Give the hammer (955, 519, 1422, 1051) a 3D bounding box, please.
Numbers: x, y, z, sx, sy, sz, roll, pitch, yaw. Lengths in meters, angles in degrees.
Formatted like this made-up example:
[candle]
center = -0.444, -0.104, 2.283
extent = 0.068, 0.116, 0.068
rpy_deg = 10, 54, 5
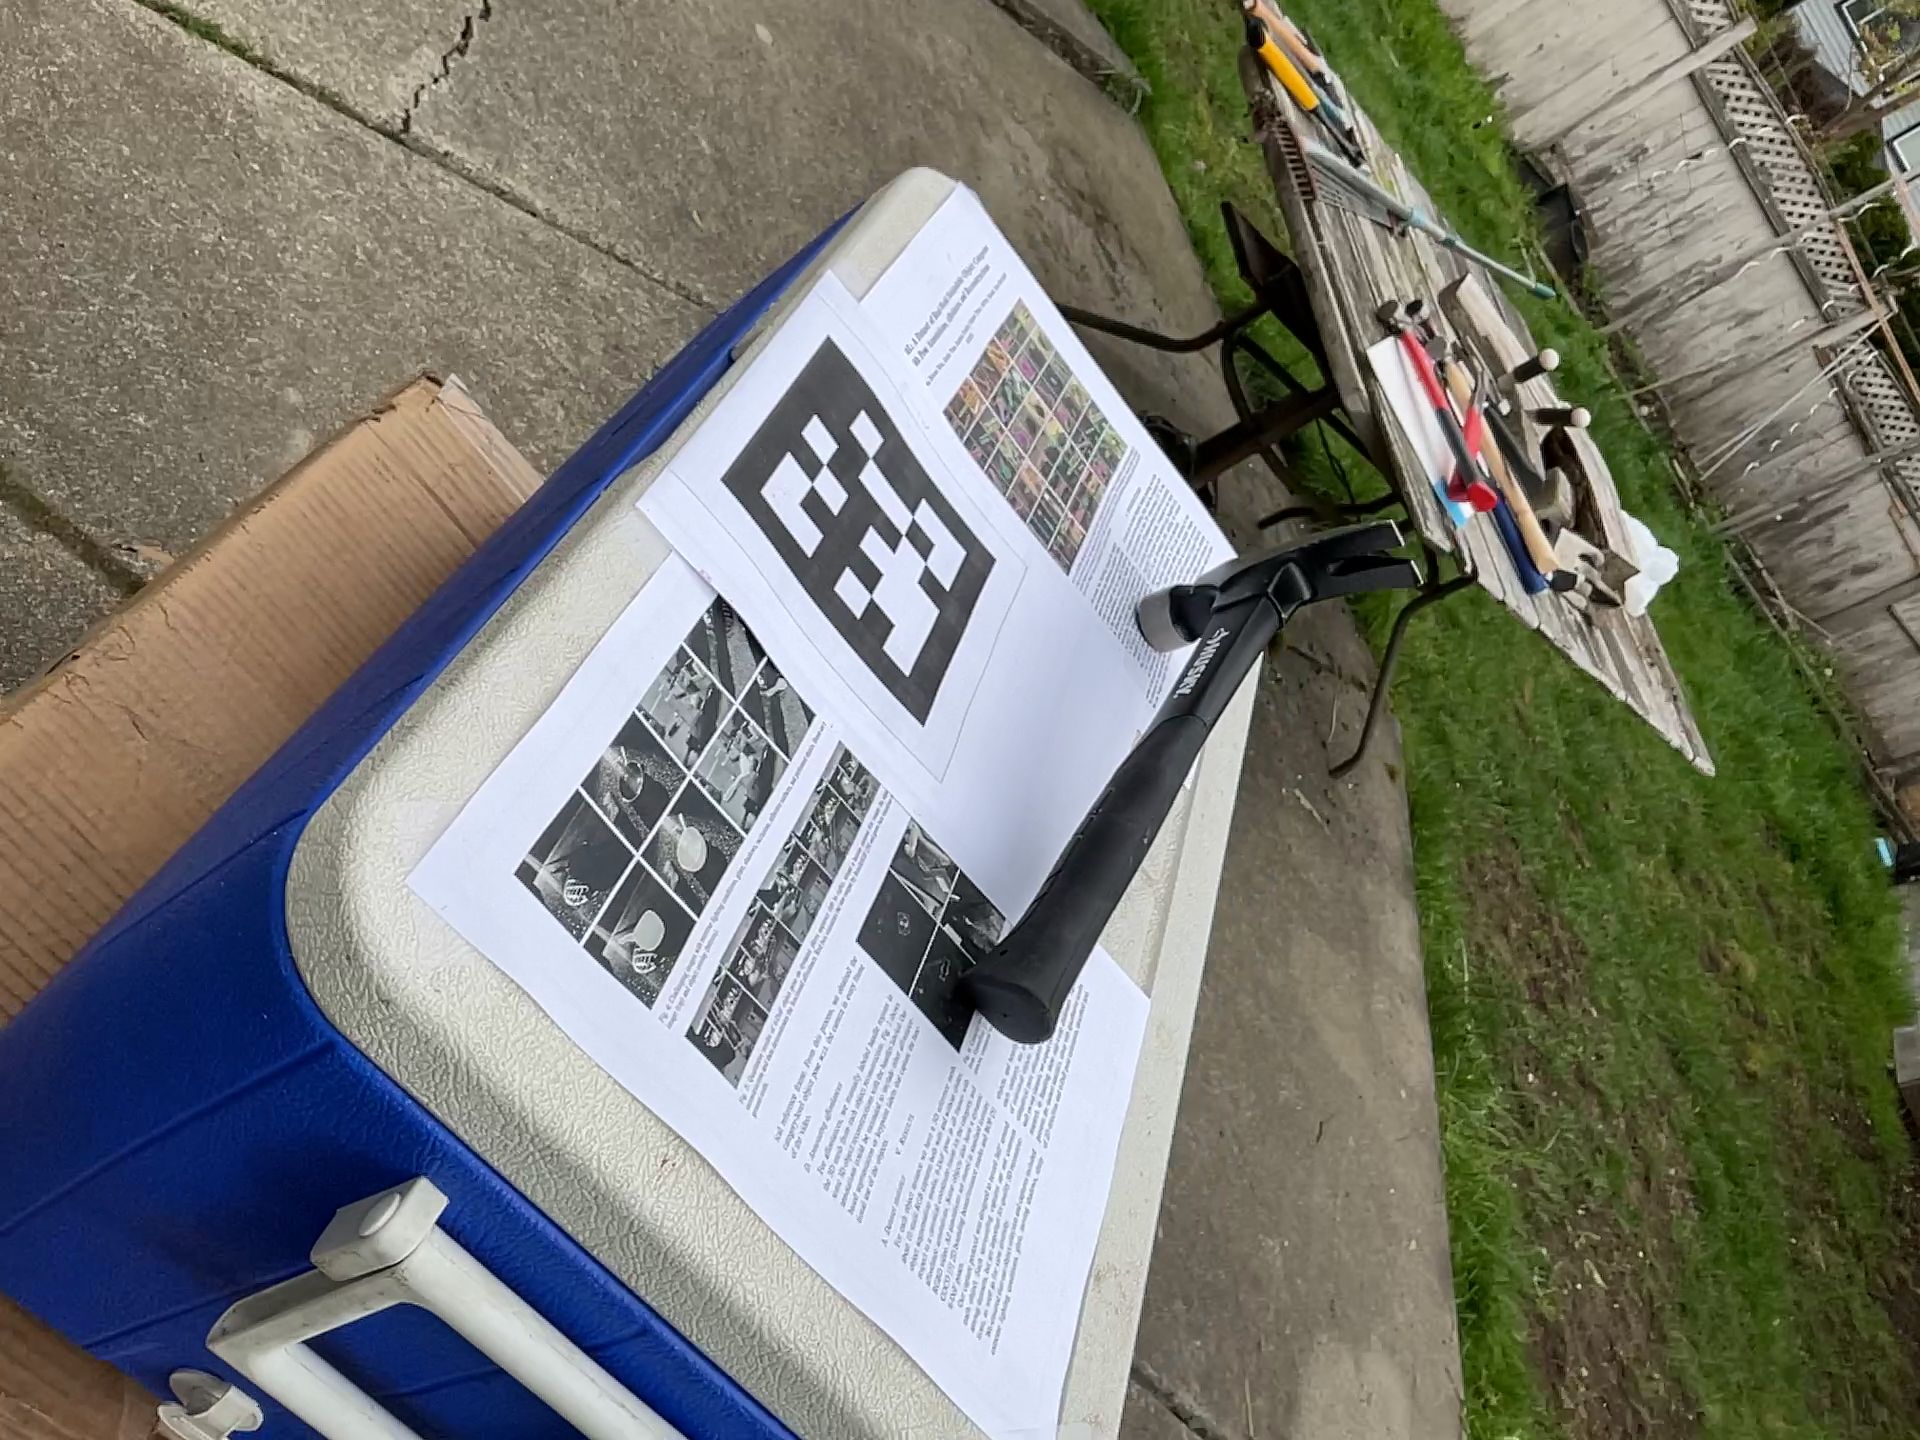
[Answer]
[hammer]
center = 0.089, 0.014, 0.666
extent = 0.035, 0.146, 0.335
rpy_deg = 58, 40, -17
